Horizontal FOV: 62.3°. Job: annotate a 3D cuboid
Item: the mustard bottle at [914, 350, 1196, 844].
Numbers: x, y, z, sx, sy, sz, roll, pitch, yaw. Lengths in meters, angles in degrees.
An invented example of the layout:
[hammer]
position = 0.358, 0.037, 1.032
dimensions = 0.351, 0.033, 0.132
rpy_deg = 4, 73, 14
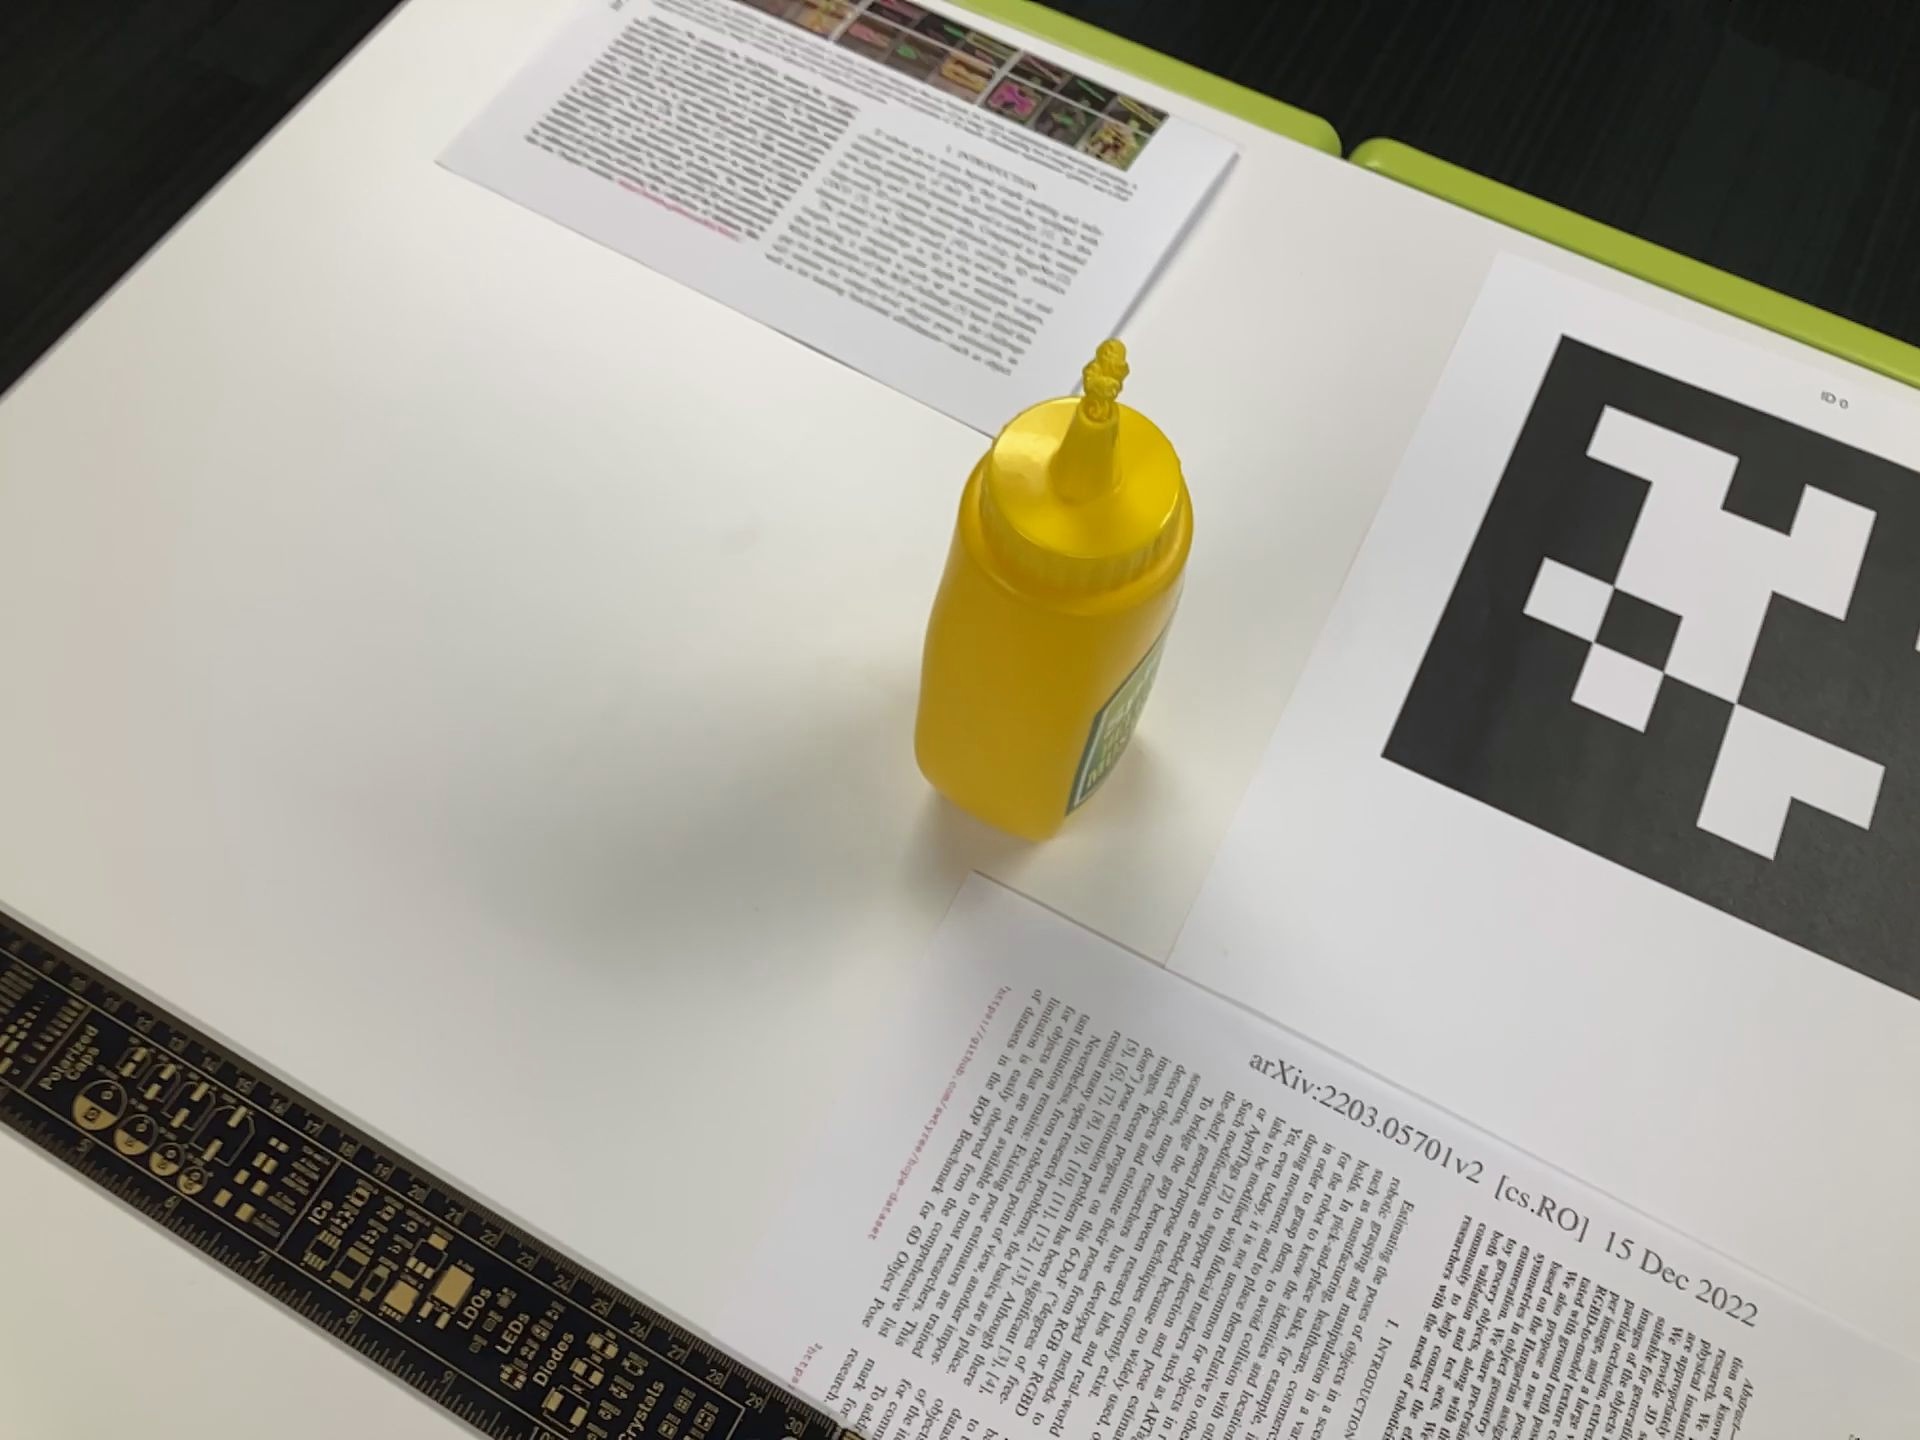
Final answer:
[mustard bottle]
position = 0.022, -0.025, 0.350
dimensions = 0.049, 0.160, 0.065
rpy_deg = 30, 68, 11
